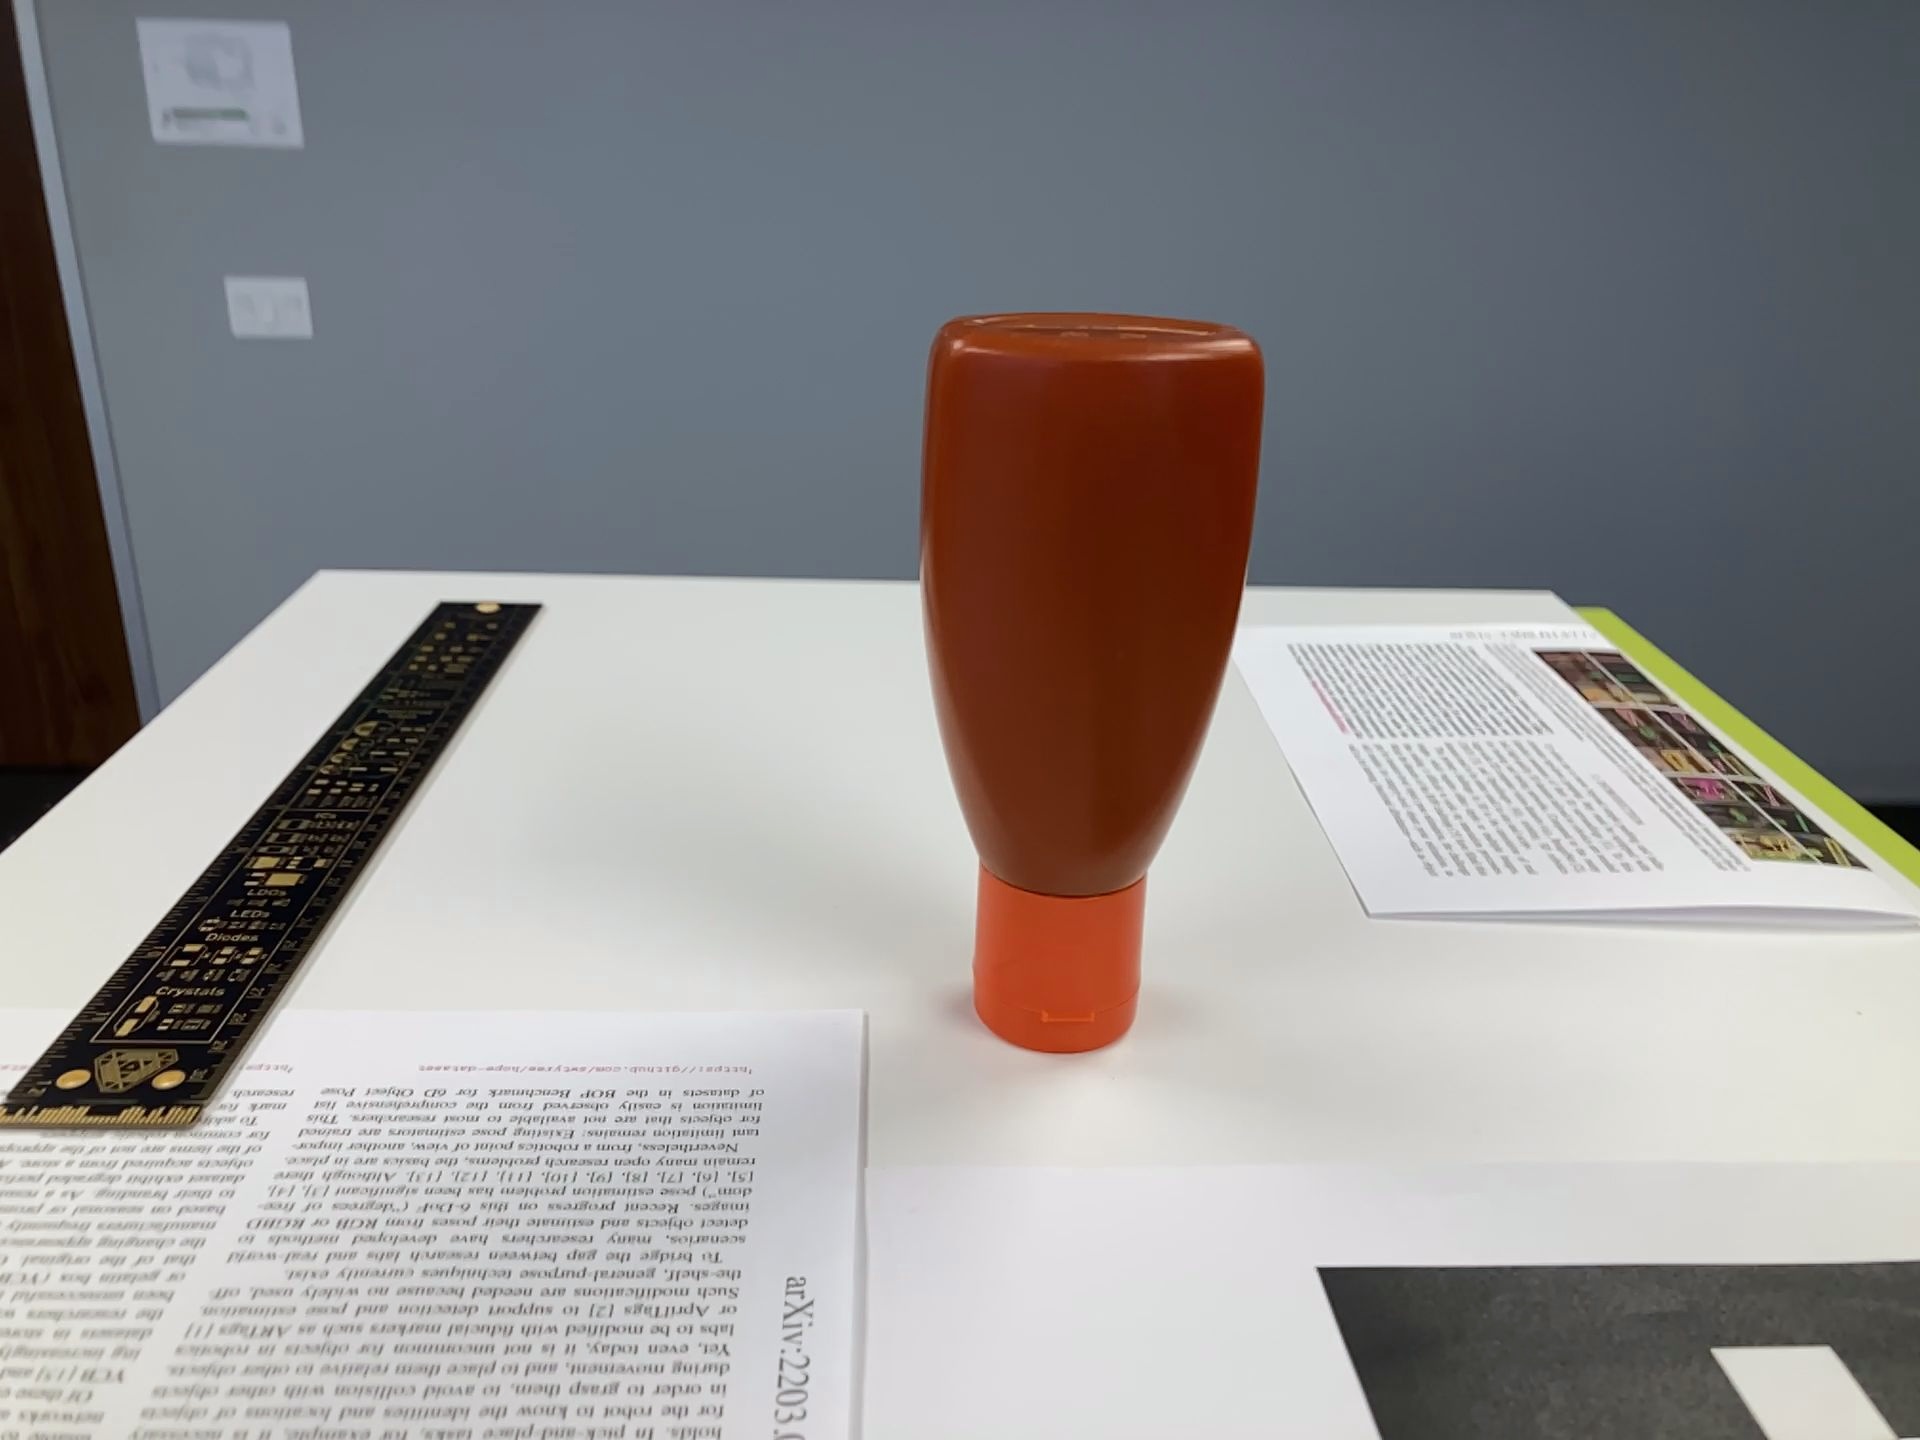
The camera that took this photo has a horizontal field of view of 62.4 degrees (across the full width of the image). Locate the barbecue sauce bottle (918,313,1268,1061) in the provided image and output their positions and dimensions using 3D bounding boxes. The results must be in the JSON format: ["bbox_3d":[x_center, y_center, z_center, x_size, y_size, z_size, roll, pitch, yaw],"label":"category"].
[{"bbox_3d":[0.023,-0.004,0.319,0.065,0.148,0.043,0,21,-5],"label":"barbecue sauce bottle"}]
